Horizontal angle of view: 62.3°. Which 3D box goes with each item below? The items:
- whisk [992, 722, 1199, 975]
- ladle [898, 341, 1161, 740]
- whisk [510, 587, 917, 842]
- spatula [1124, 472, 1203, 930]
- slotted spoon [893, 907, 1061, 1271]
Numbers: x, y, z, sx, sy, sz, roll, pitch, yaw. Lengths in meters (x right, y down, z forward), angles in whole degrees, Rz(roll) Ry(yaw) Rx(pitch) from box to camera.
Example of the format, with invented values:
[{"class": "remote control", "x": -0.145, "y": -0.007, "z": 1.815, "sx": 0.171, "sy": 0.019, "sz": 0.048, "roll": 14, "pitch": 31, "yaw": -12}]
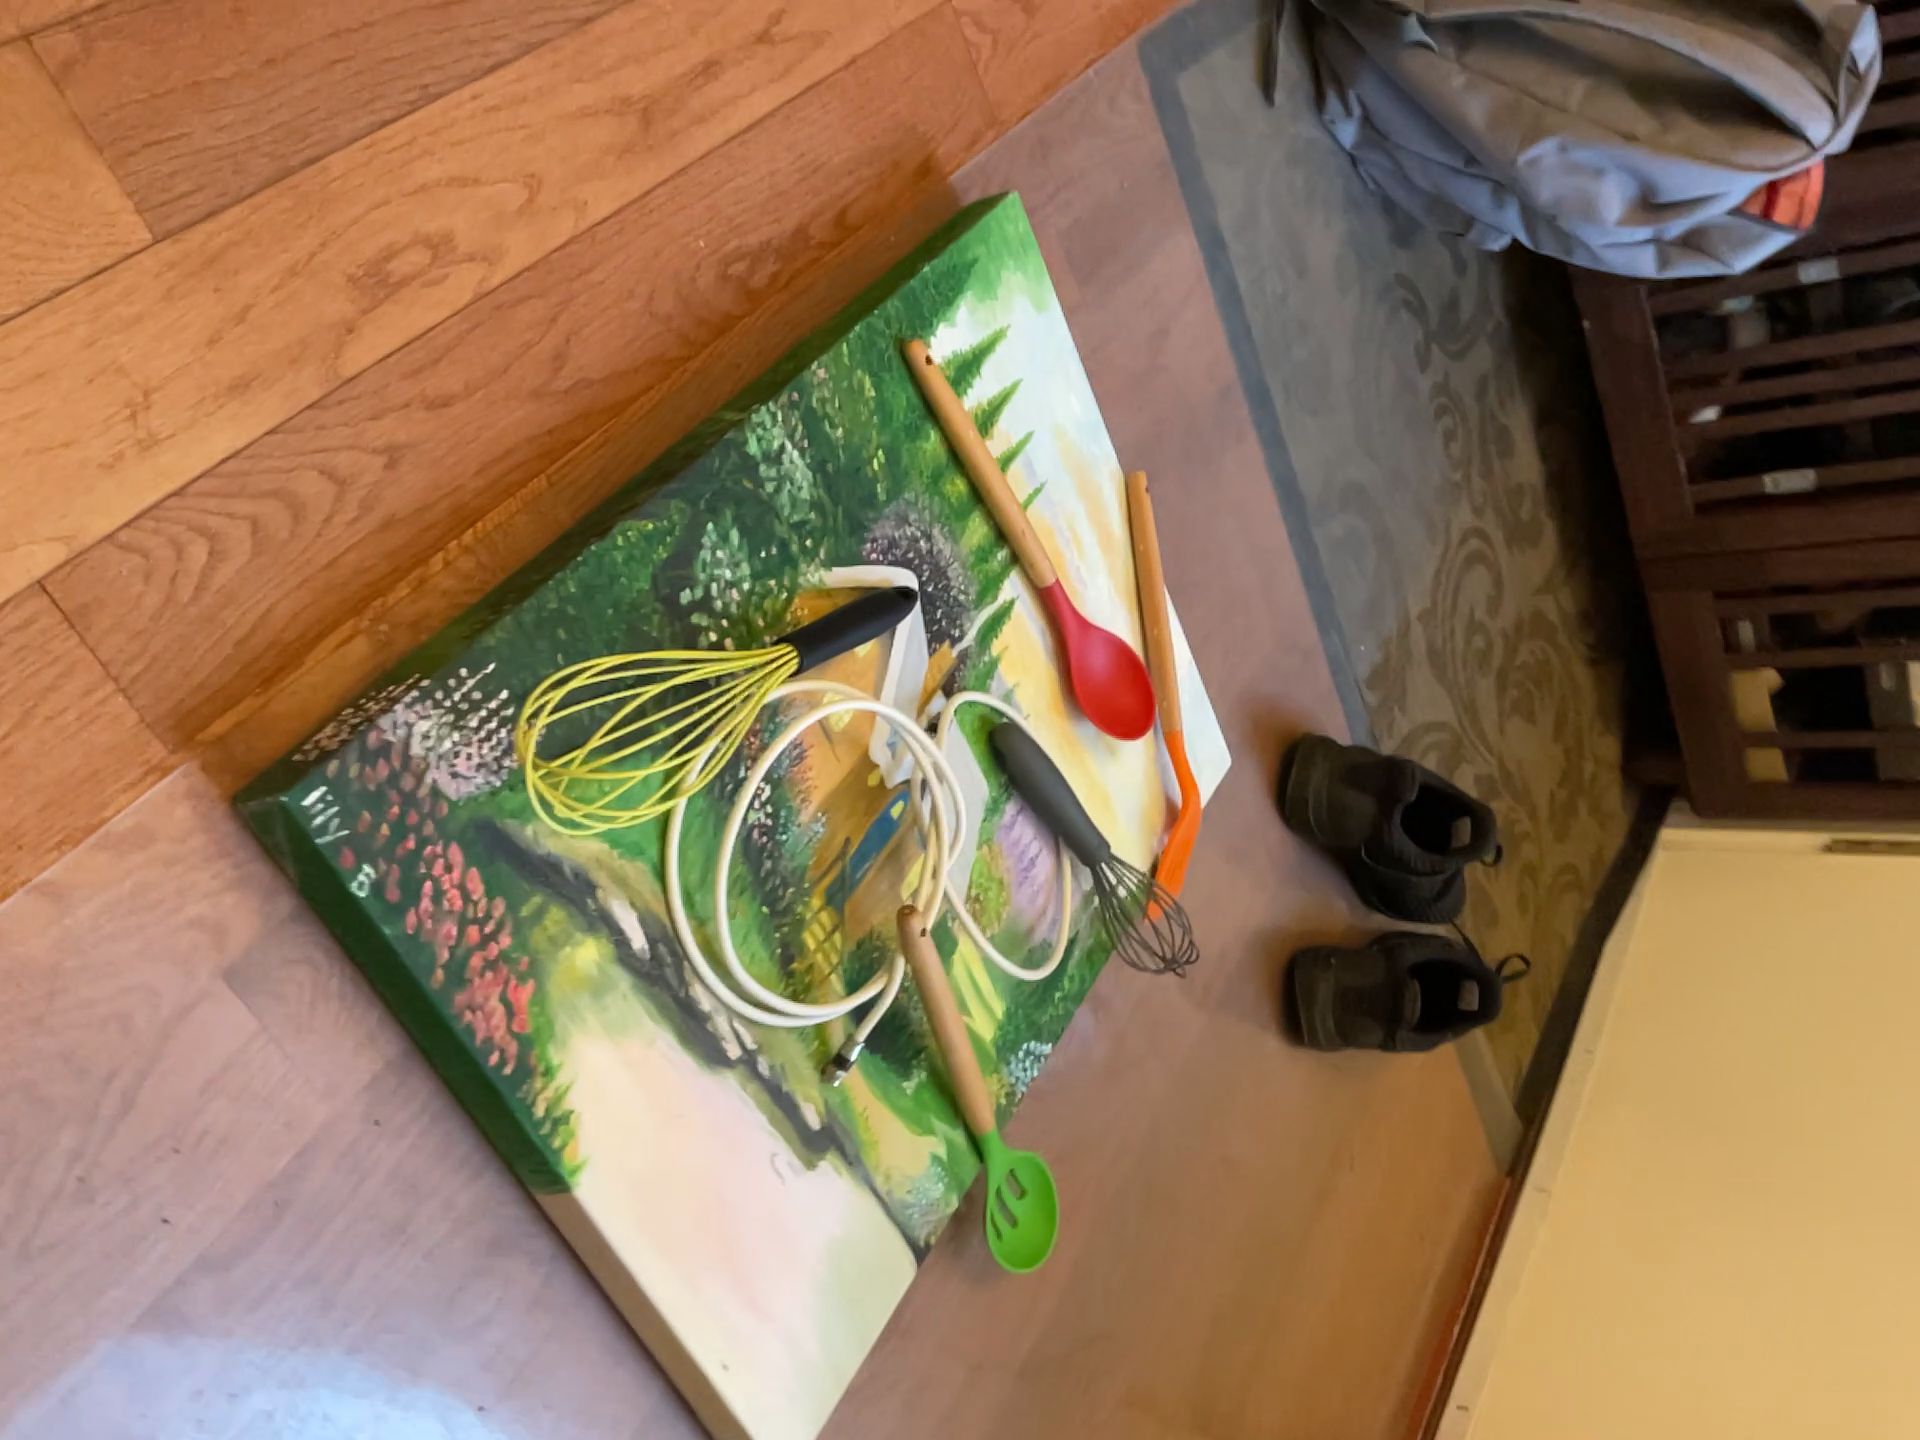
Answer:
[{"class": "whisk", "x": 0.089, "y": 0.088, "z": 1.036, "sx": 0.238, "sy": 0.055, "sz": 0.055, "roll": 52, "pitch": 40, "yaw": -28}, {"class": "ladle", "x": 0.045, "y": -0.106, "z": 1.002, "sx": 0.315, "sy": 0.031, "sz": 0.069, "roll": 55, "pitch": 48, "yaw": -31}, {"class": "whisk", "x": -0.108, "y": -0.020, "z": 0.795, "sx": 0.311, "sy": 0.067, "sz": 0.080, "roll": -33, "pitch": 120, "yaw": -53}, {"class": "spatula", "x": 0.139, "y": -0.014, "z": 1.130, "sx": 0.081, "sy": 0.041, "sz": 0.322, "roll": -22, "pitch": 105, "yaw": -61}, {"class": "slotted spoon", "x": 0.009, "y": 0.221, "z": 0.937, "sx": 0.070, "sy": 0.031, "sz": 0.313, "roll": -53, "pitch": 139, "yaw": -37}]
